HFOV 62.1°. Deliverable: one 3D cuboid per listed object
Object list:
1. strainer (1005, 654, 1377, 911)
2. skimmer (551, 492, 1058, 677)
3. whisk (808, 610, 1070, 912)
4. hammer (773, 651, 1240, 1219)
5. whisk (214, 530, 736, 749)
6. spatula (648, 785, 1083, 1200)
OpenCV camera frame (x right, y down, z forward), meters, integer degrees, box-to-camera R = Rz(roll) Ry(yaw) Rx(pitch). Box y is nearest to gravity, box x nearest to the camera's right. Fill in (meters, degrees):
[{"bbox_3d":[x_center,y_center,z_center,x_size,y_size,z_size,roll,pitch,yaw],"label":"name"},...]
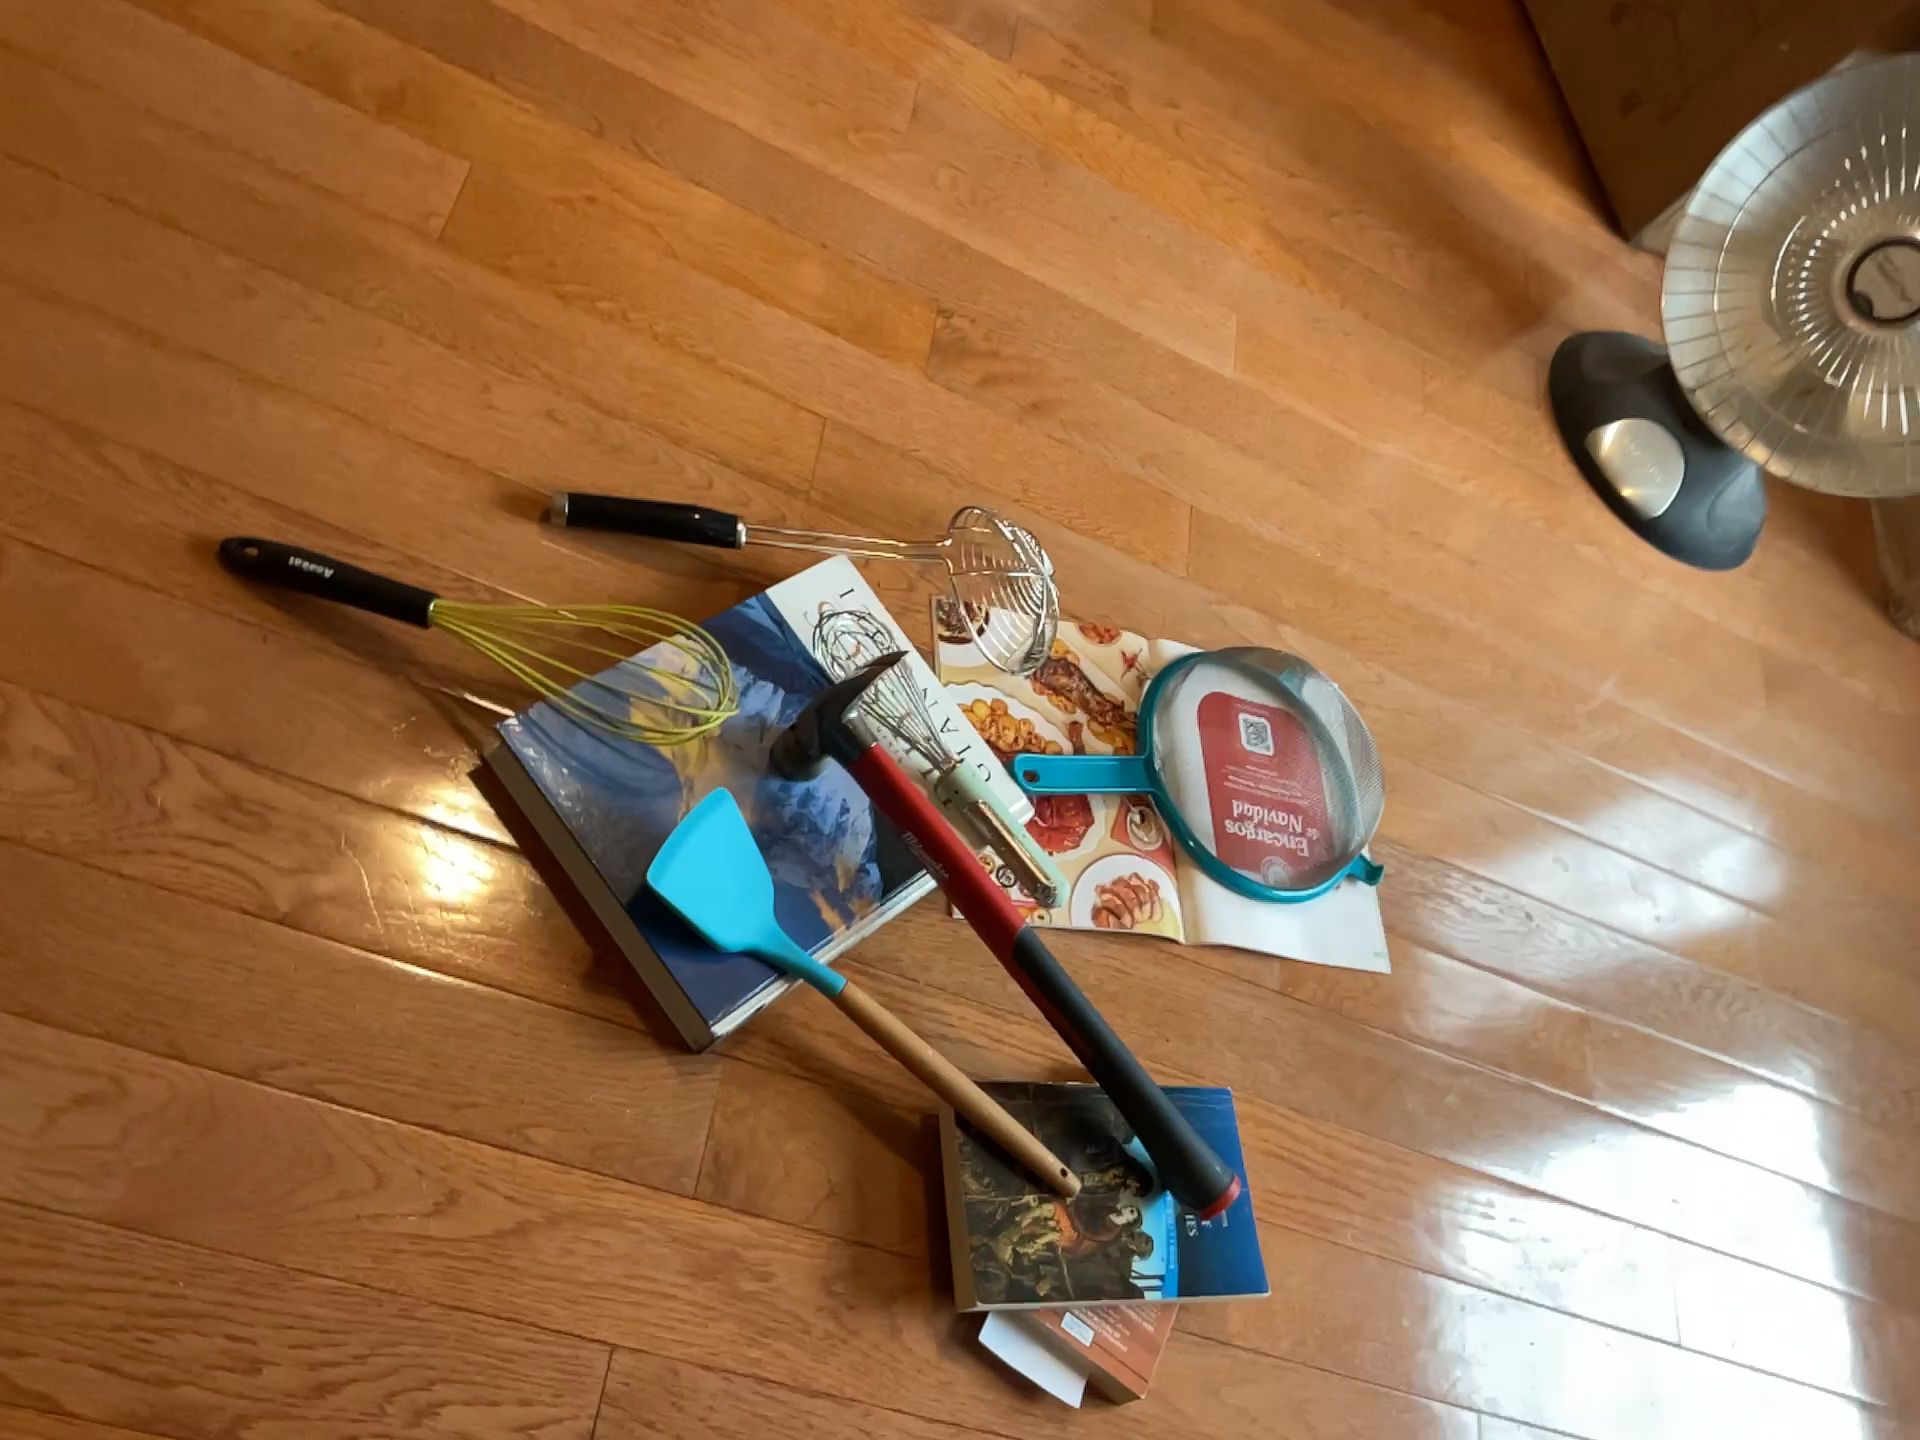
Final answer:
[{"bbox_3d":[0.189,0.026,1.143,0.340,0.095,0.211,3,63,-37],"label":"strainer"},{"bbox_3d":[-0.097,-0.105,1.101,0.363,0.090,0.127,6,63,-16],"label":"skimmer"},{"bbox_3d":[-0.012,0.027,1.024,0.246,0.057,0.059,50,20,-3],"label":"whisk"},{"bbox_3d":[0.042,0.133,0.941,0.386,0.143,0.038,51,54,0],"label":"hammer"},{"bbox_3d":[-0.279,-0.055,0.923,0.311,0.067,0.080,19,70,-4],"label":"whisk"},{"bbox_3d":[-0.045,0.171,0.918,0.317,0.044,0.082,41,49,-5],"label":"spatula"}]
